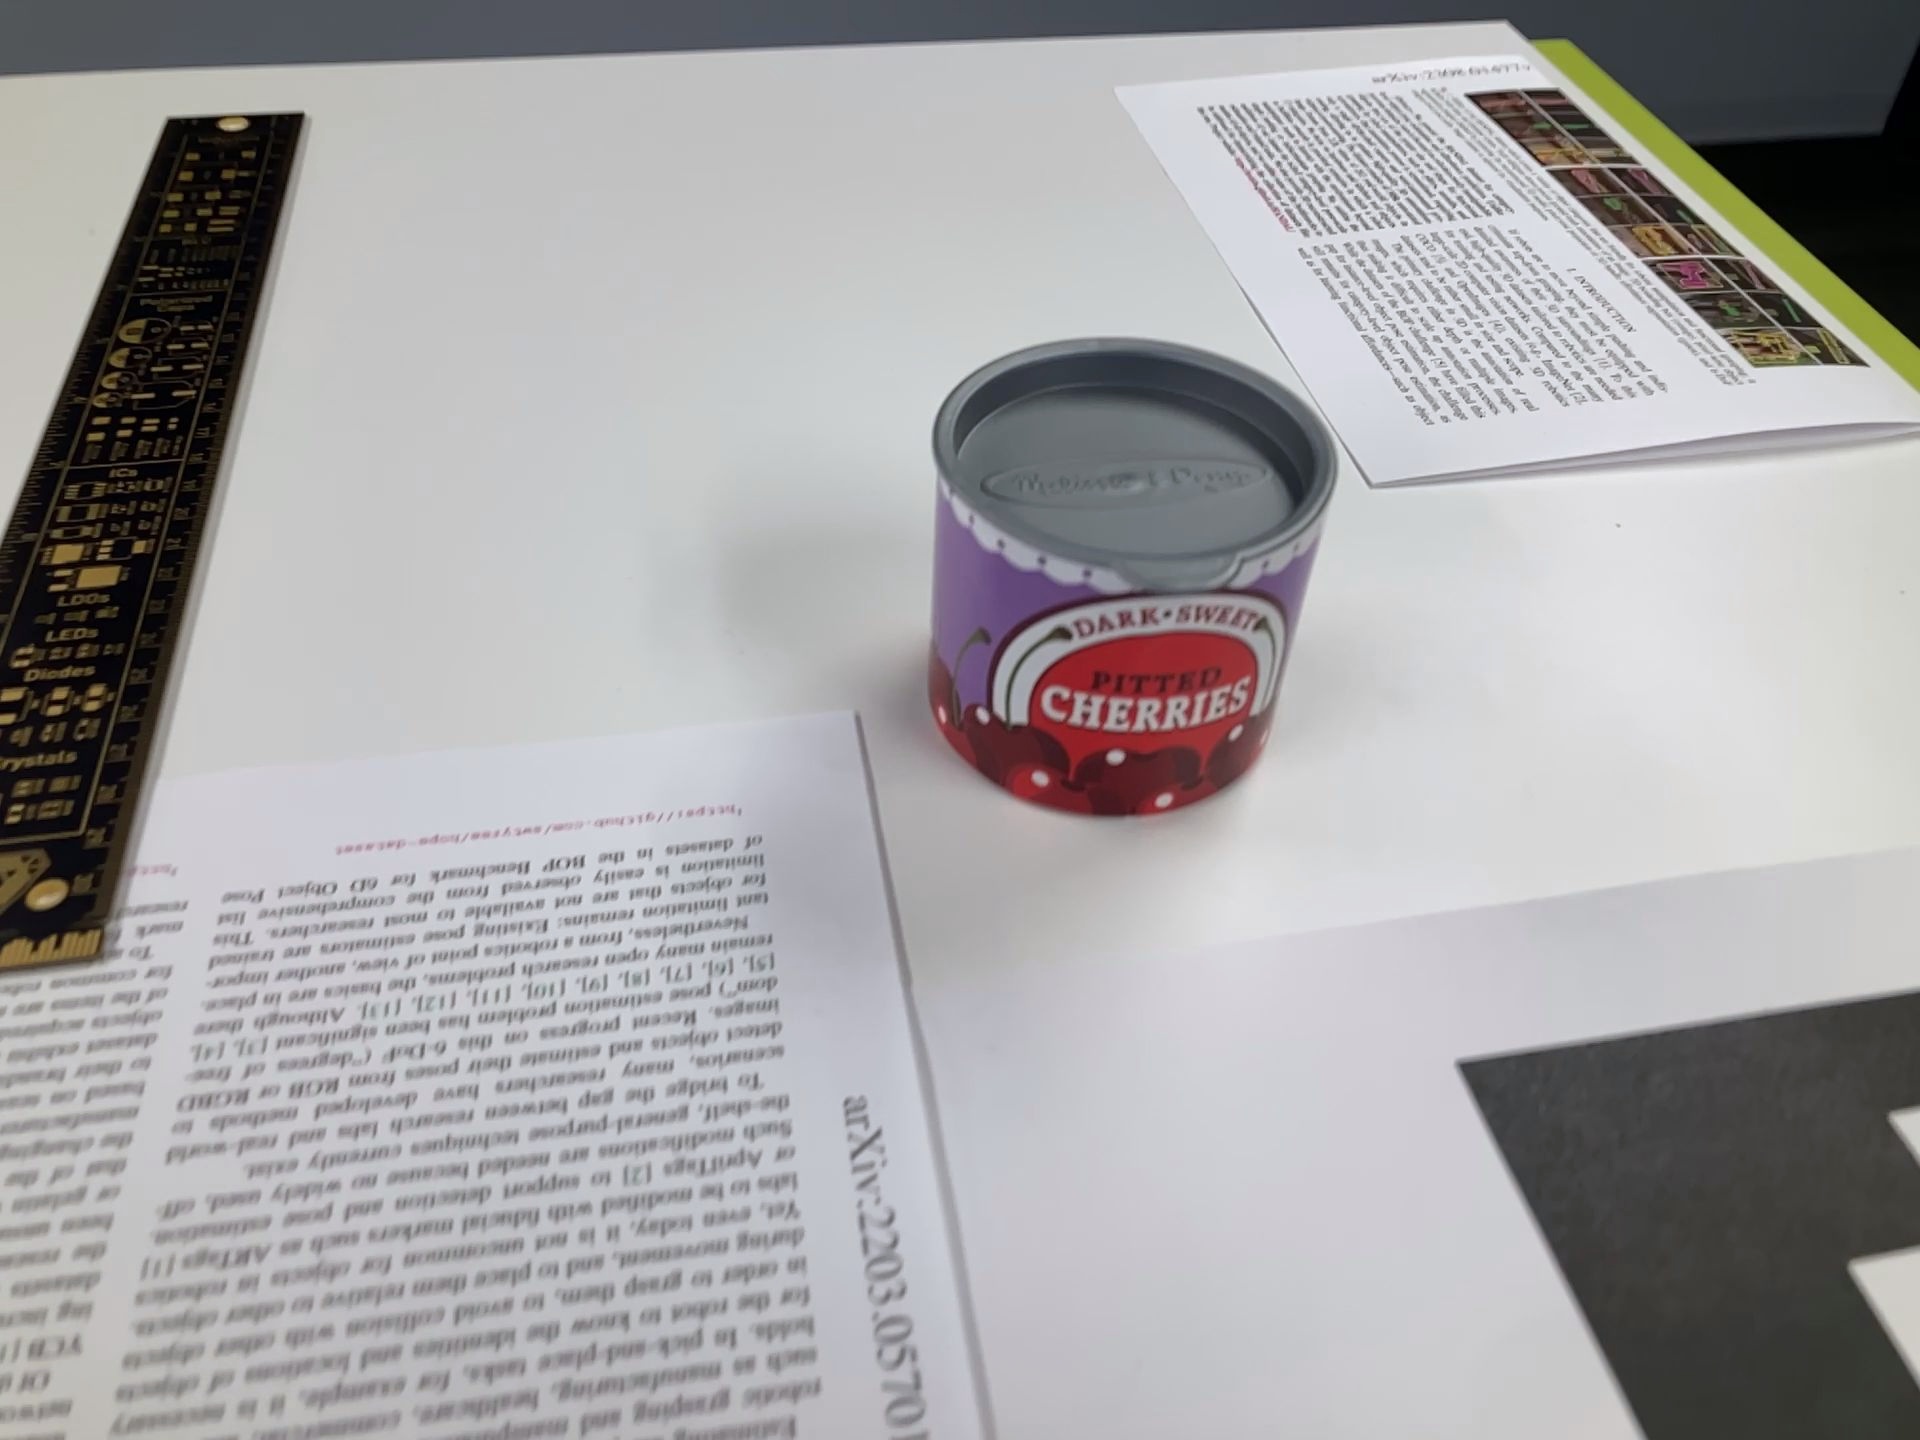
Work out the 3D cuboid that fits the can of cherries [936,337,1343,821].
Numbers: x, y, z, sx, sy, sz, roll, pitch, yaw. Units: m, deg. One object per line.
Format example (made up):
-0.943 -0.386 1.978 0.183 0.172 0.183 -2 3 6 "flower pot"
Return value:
0.029 -0.023 0.277 0.071 0.058 0.071 2 43 -2 "can of cherries"
